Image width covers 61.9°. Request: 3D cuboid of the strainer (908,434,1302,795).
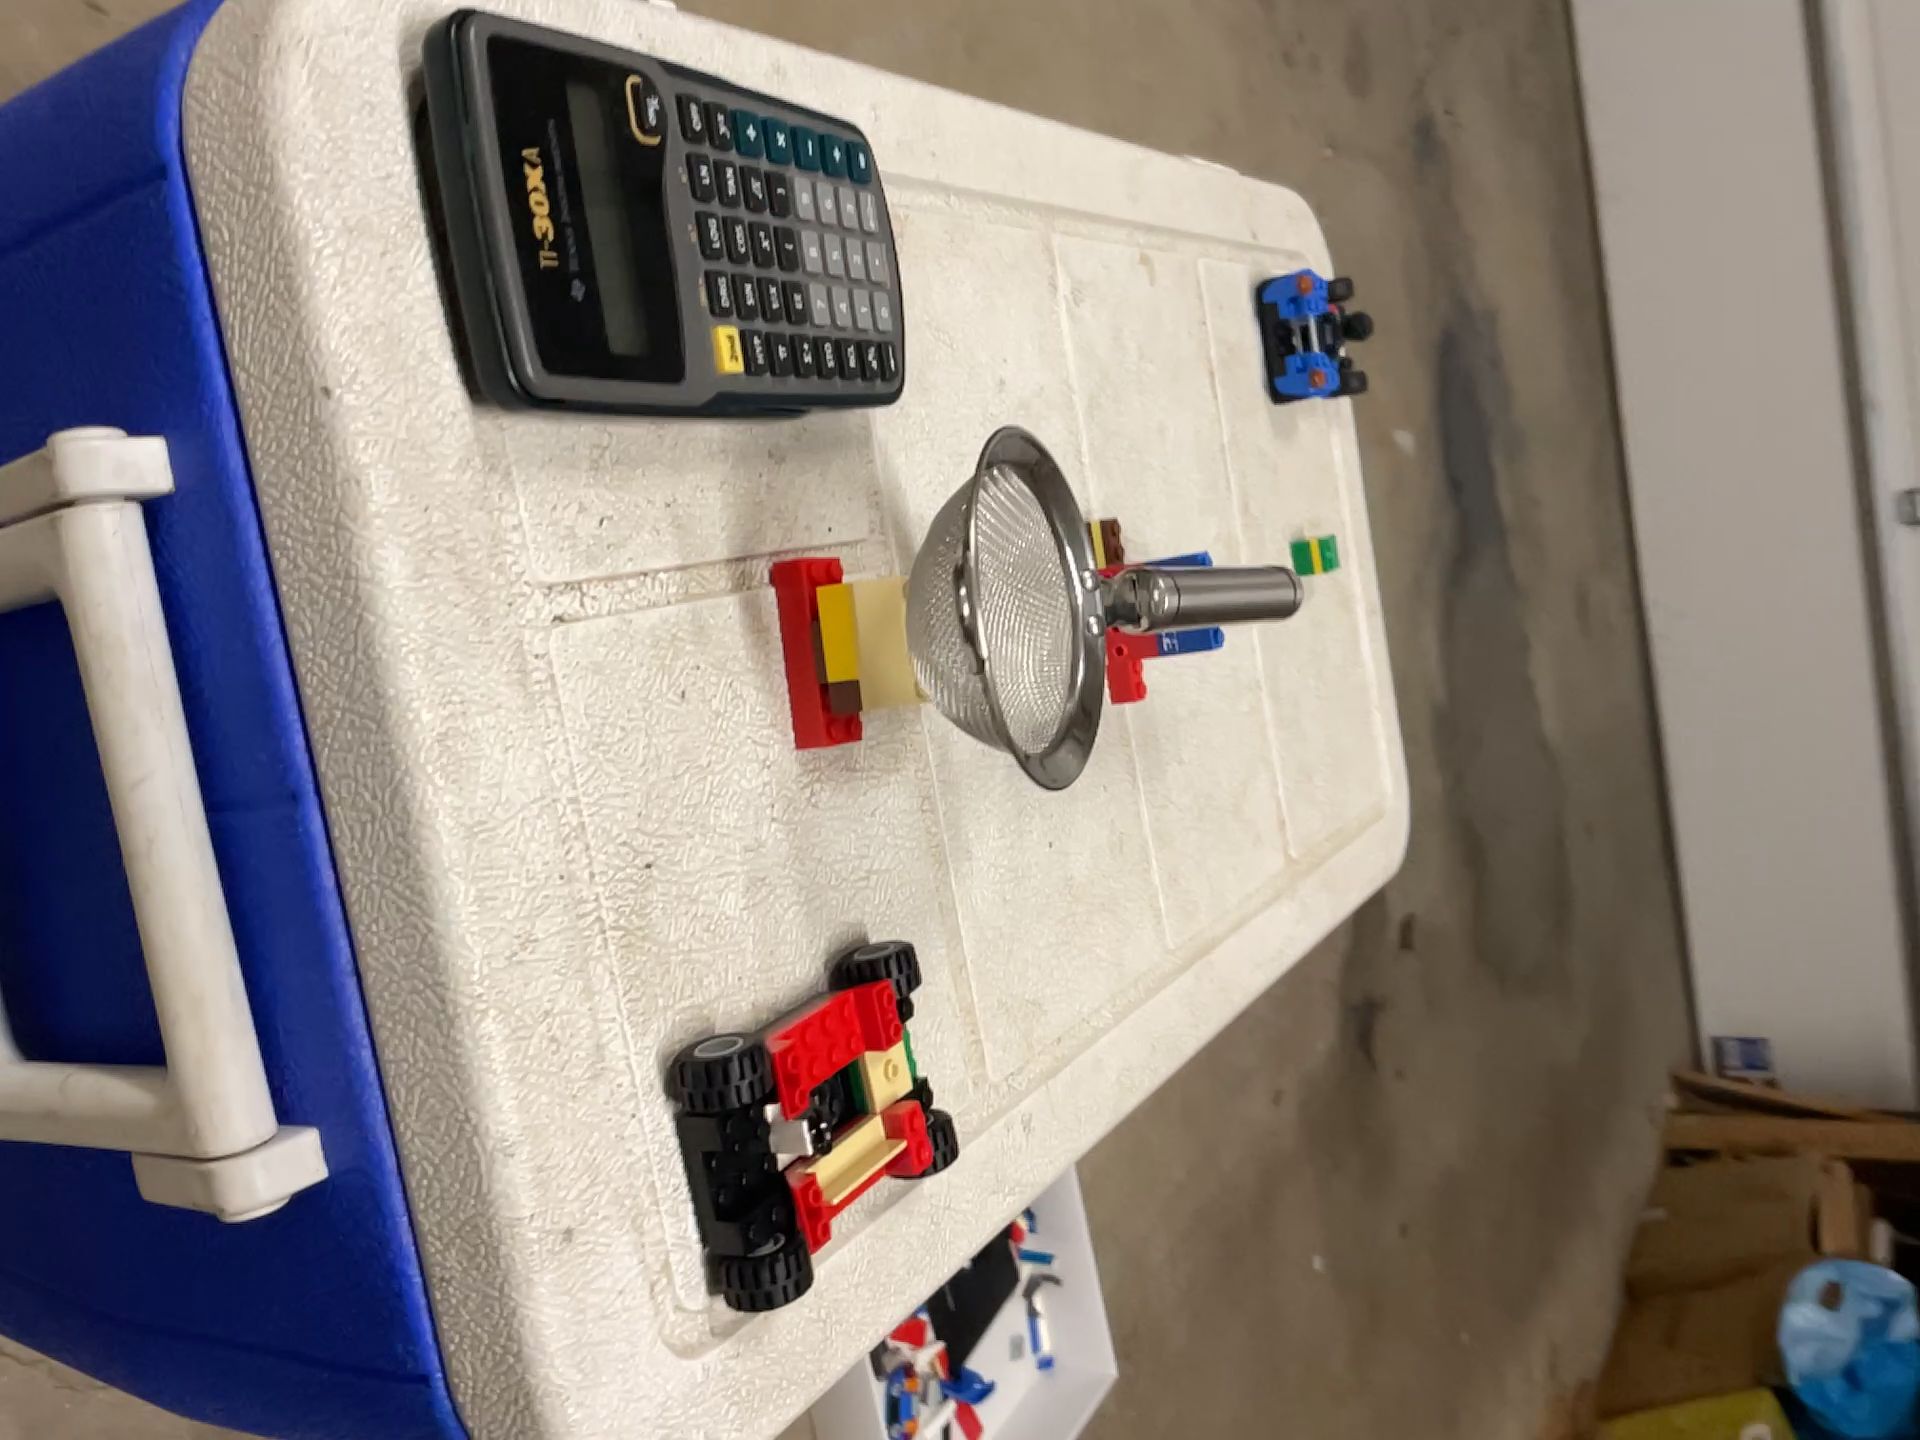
[{"bbox_3d":[0.047,-0.031,0.446,0.259,0.050,0.086,-10,95,-58],"label":"strainer"}]
